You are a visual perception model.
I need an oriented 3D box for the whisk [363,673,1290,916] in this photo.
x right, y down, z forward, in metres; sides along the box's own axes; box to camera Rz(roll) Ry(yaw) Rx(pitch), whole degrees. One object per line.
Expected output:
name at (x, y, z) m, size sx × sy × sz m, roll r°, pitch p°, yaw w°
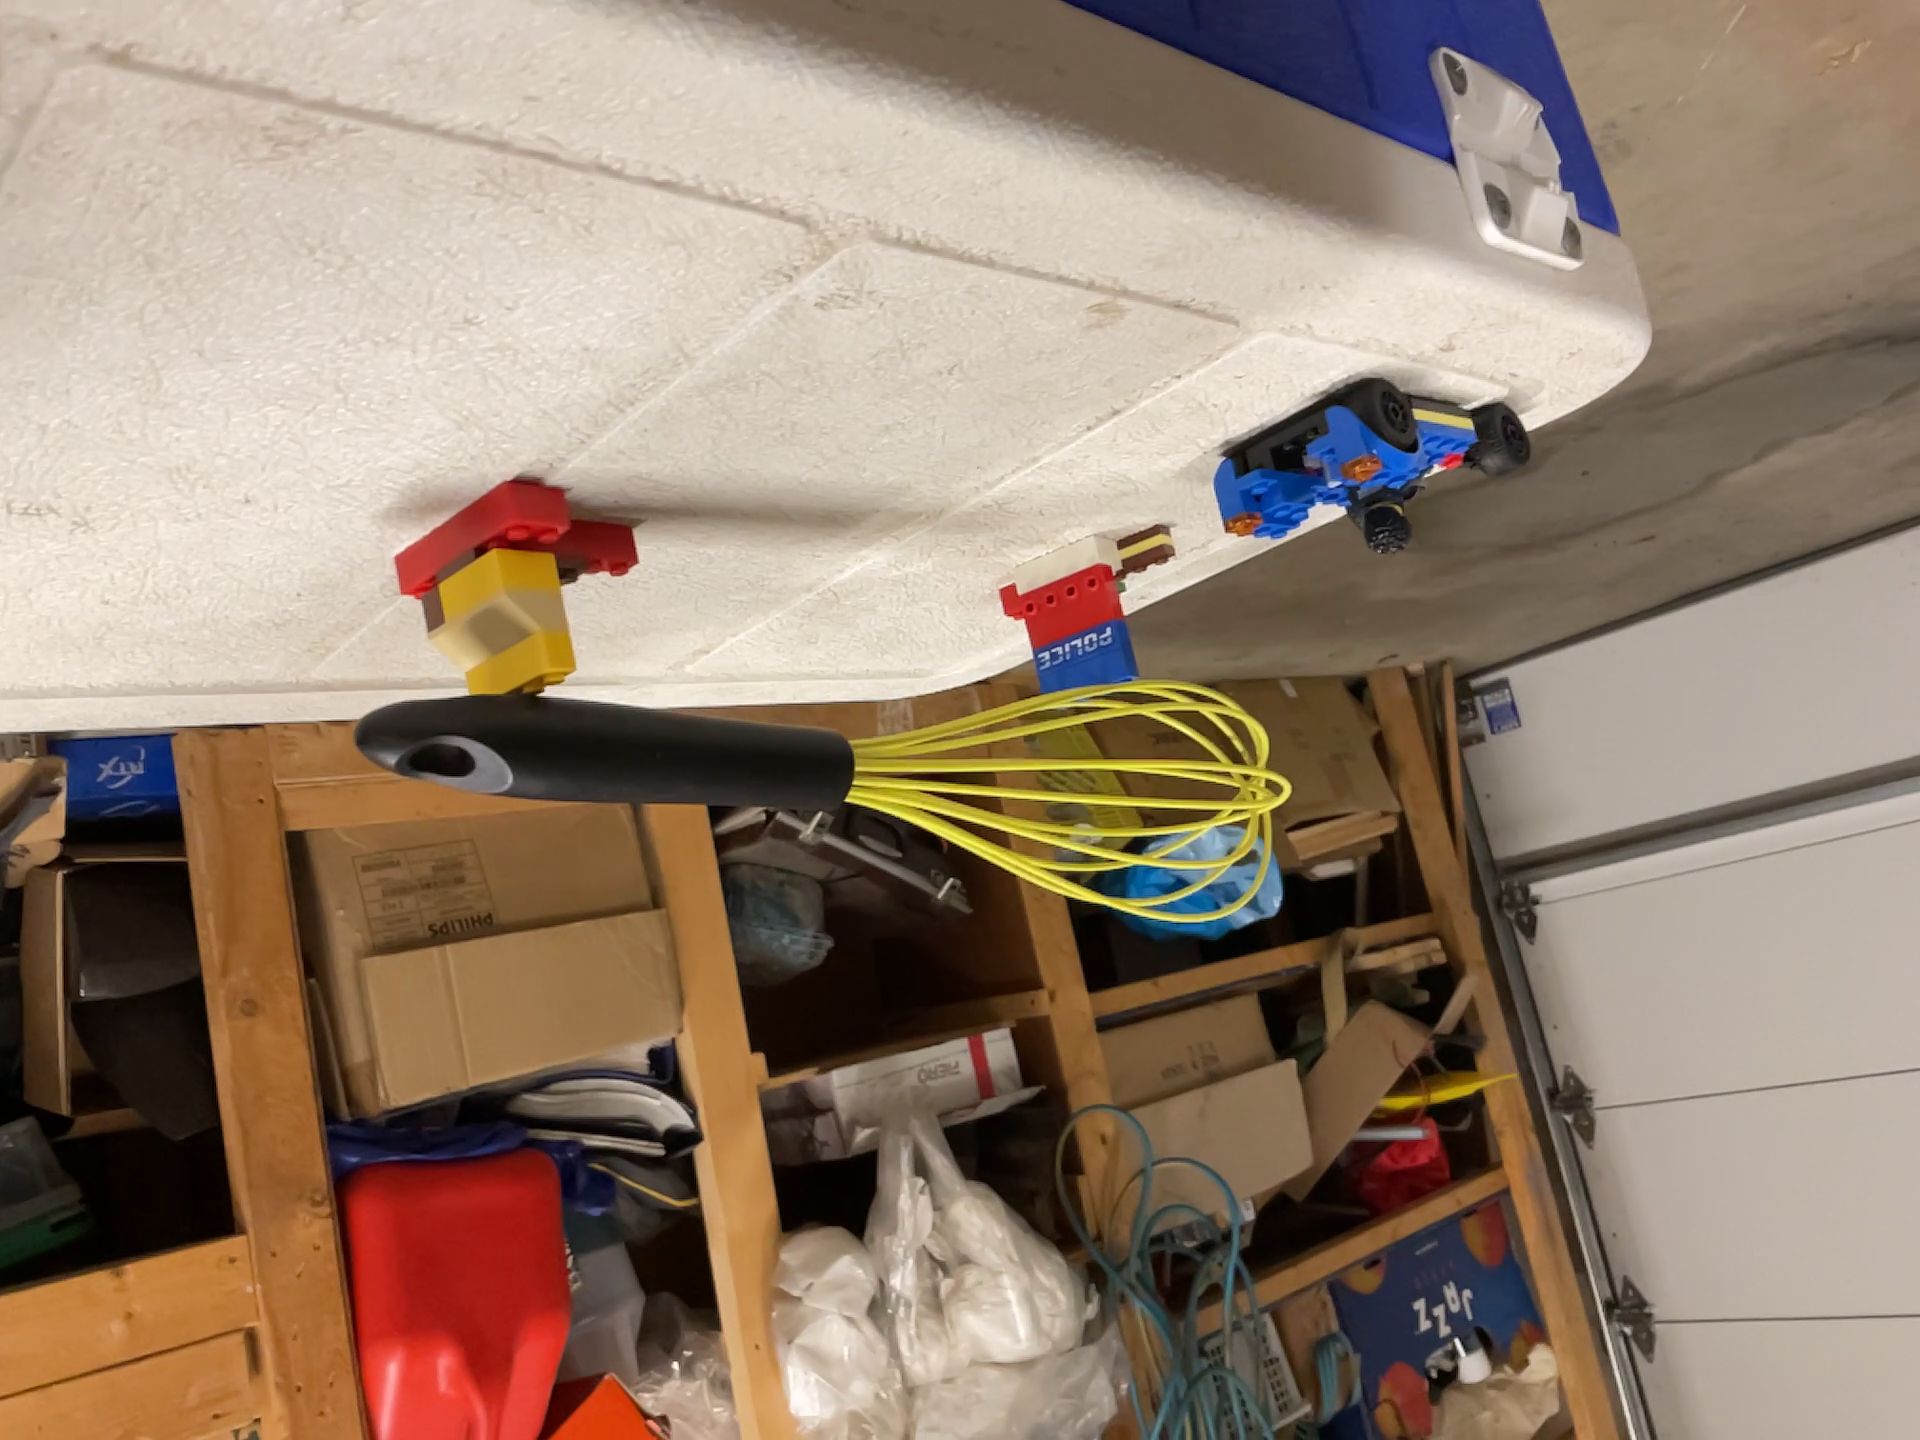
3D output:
whisk at (-0.013, 0.014, 0.450) m, size 0.311 × 0.067 × 0.079 m, roll 7°, pitch 113°, yaw -40°
